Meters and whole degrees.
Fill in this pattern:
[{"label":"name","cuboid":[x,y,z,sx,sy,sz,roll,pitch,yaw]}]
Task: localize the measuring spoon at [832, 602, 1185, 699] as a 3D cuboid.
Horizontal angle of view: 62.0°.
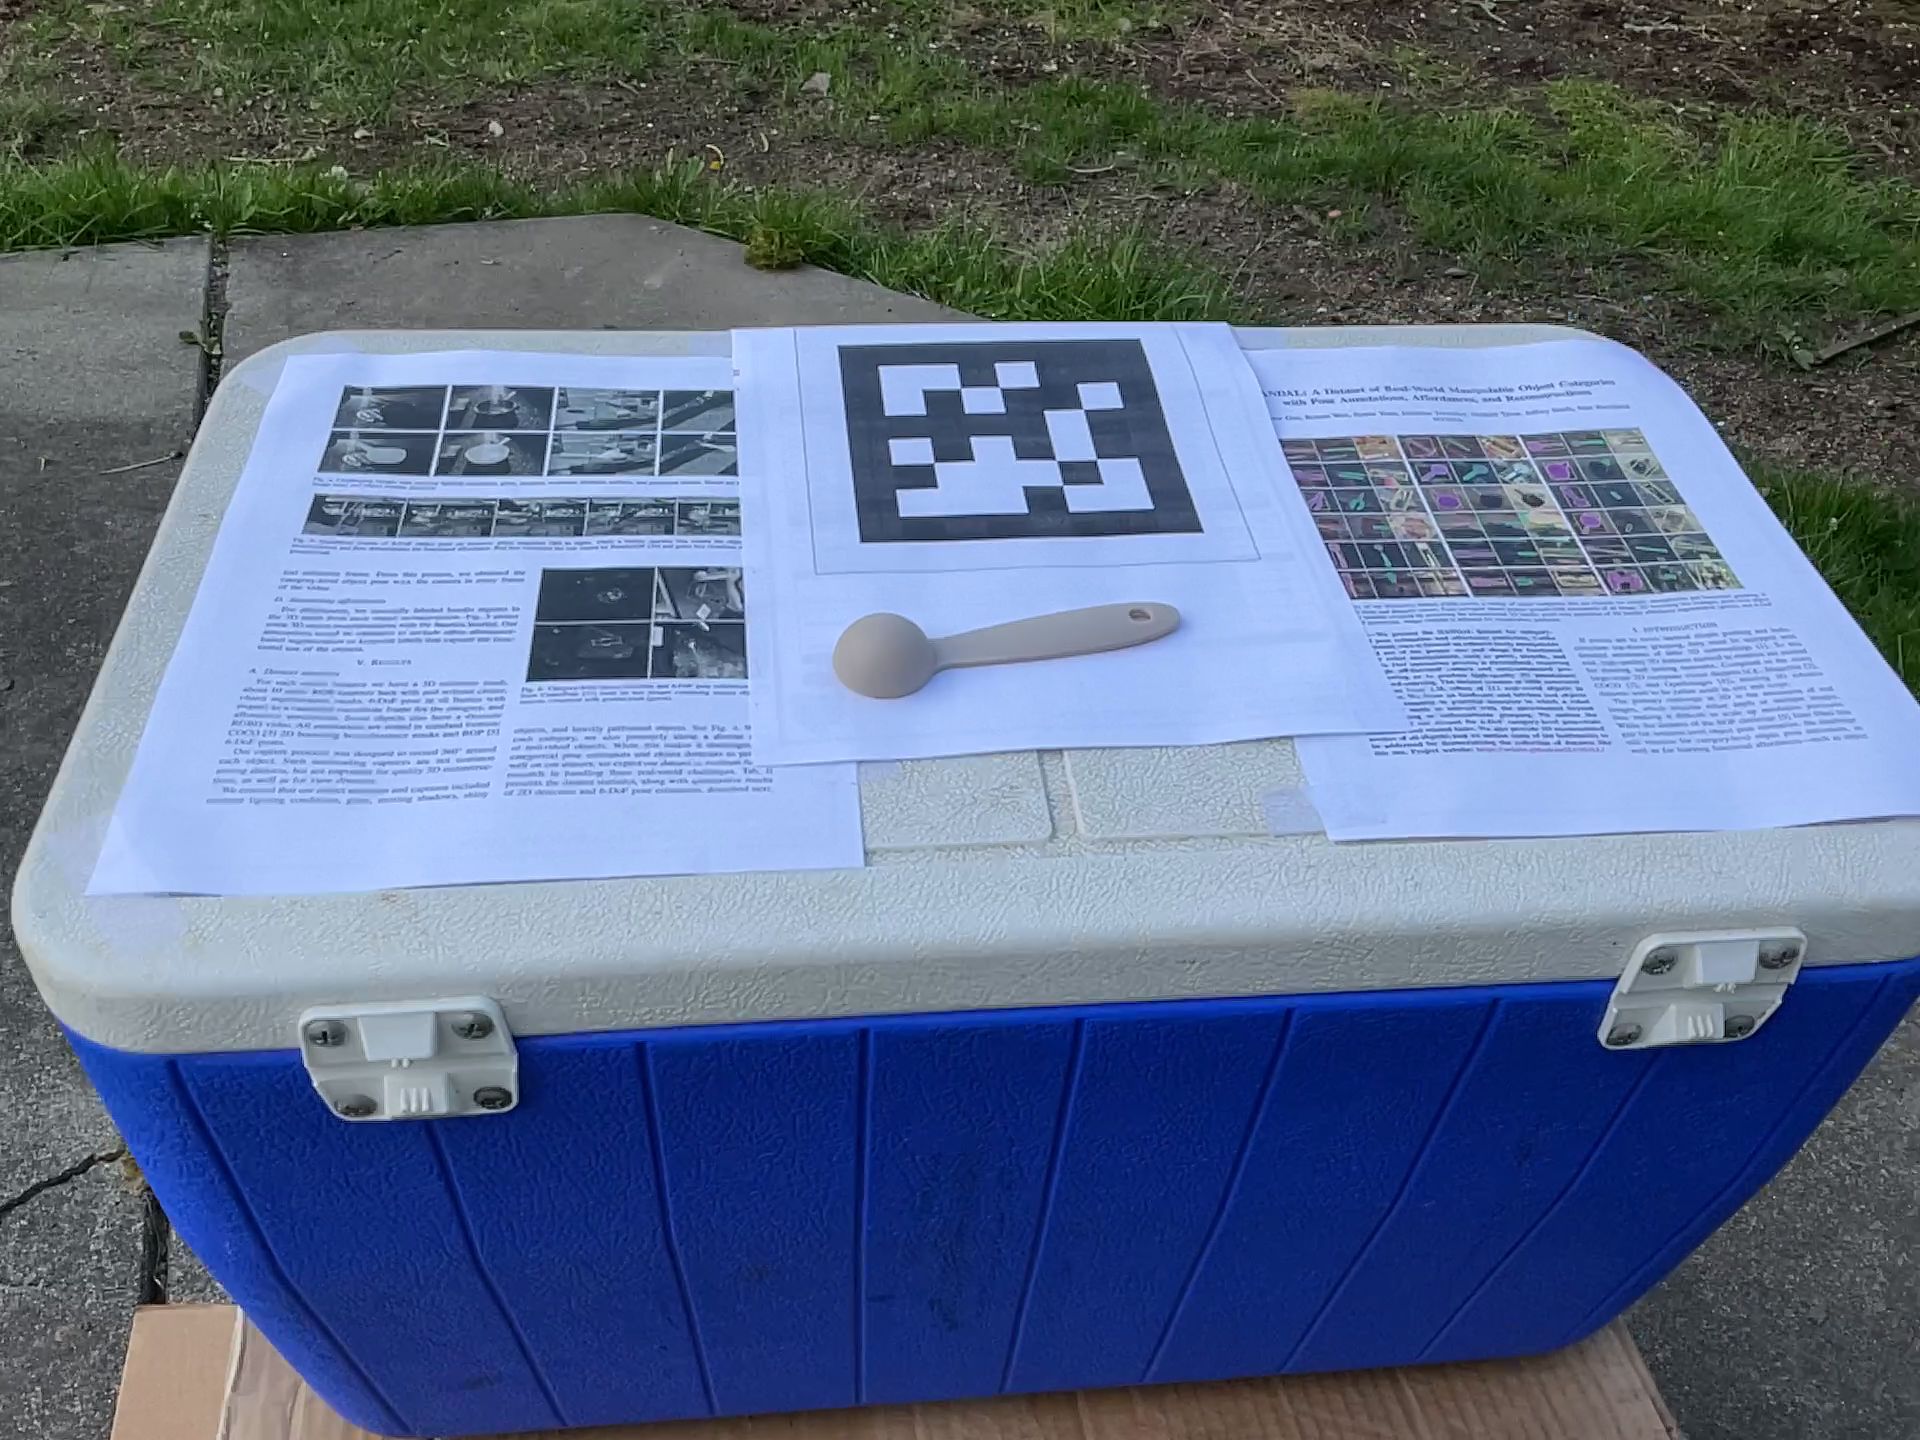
[{"label":"measuring spoon","cuboid":[0.018,-0.031,0.535,0.124,0.018,0.034,-9,45,-14]}]
